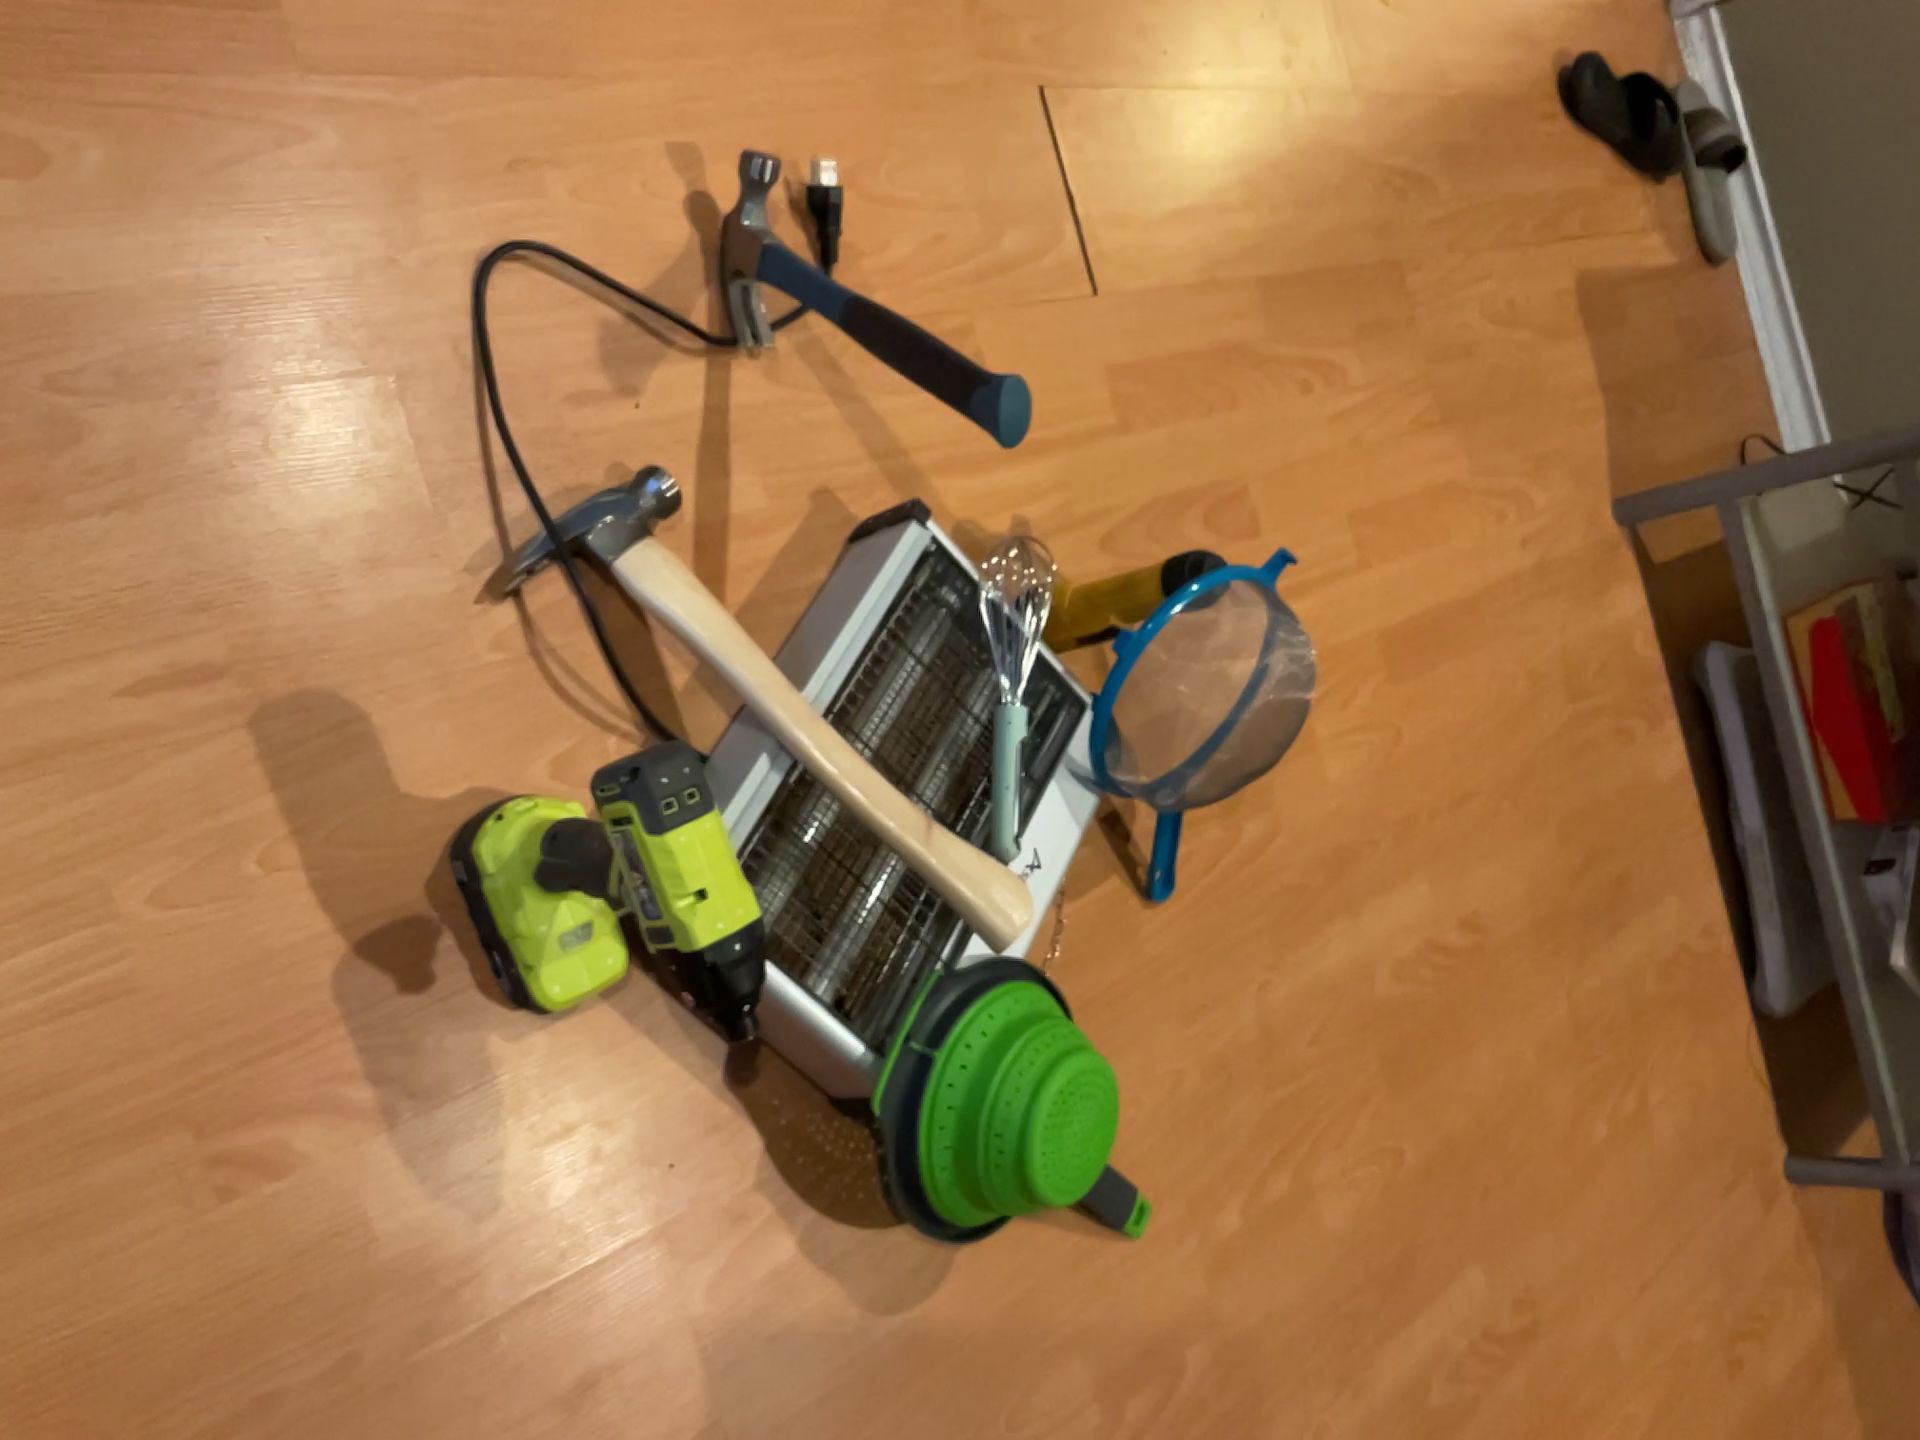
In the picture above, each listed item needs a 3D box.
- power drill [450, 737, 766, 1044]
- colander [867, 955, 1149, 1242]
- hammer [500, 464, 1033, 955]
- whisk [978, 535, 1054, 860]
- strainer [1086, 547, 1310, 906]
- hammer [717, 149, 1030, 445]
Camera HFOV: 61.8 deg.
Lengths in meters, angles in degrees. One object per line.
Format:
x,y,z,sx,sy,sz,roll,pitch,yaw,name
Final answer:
-0.203,0.109,0.945,0.080,0.223,0.171,-25,99,-41,power drill
0.083,0.318,1.184,0.397,0.094,0.204,48,60,-44,colander
-0.116,0.007,1.064,0.410,0.038,0.146,44,51,3,hammer
0.038,-0.019,1.194,0.058,0.059,0.246,25,66,-68,whisk
0.203,0.042,1.284,0.211,0.095,0.340,-27,136,-31,strainer
-0.067,-0.277,1.100,0.033,0.331,0.128,-10,128,-42,hammer
